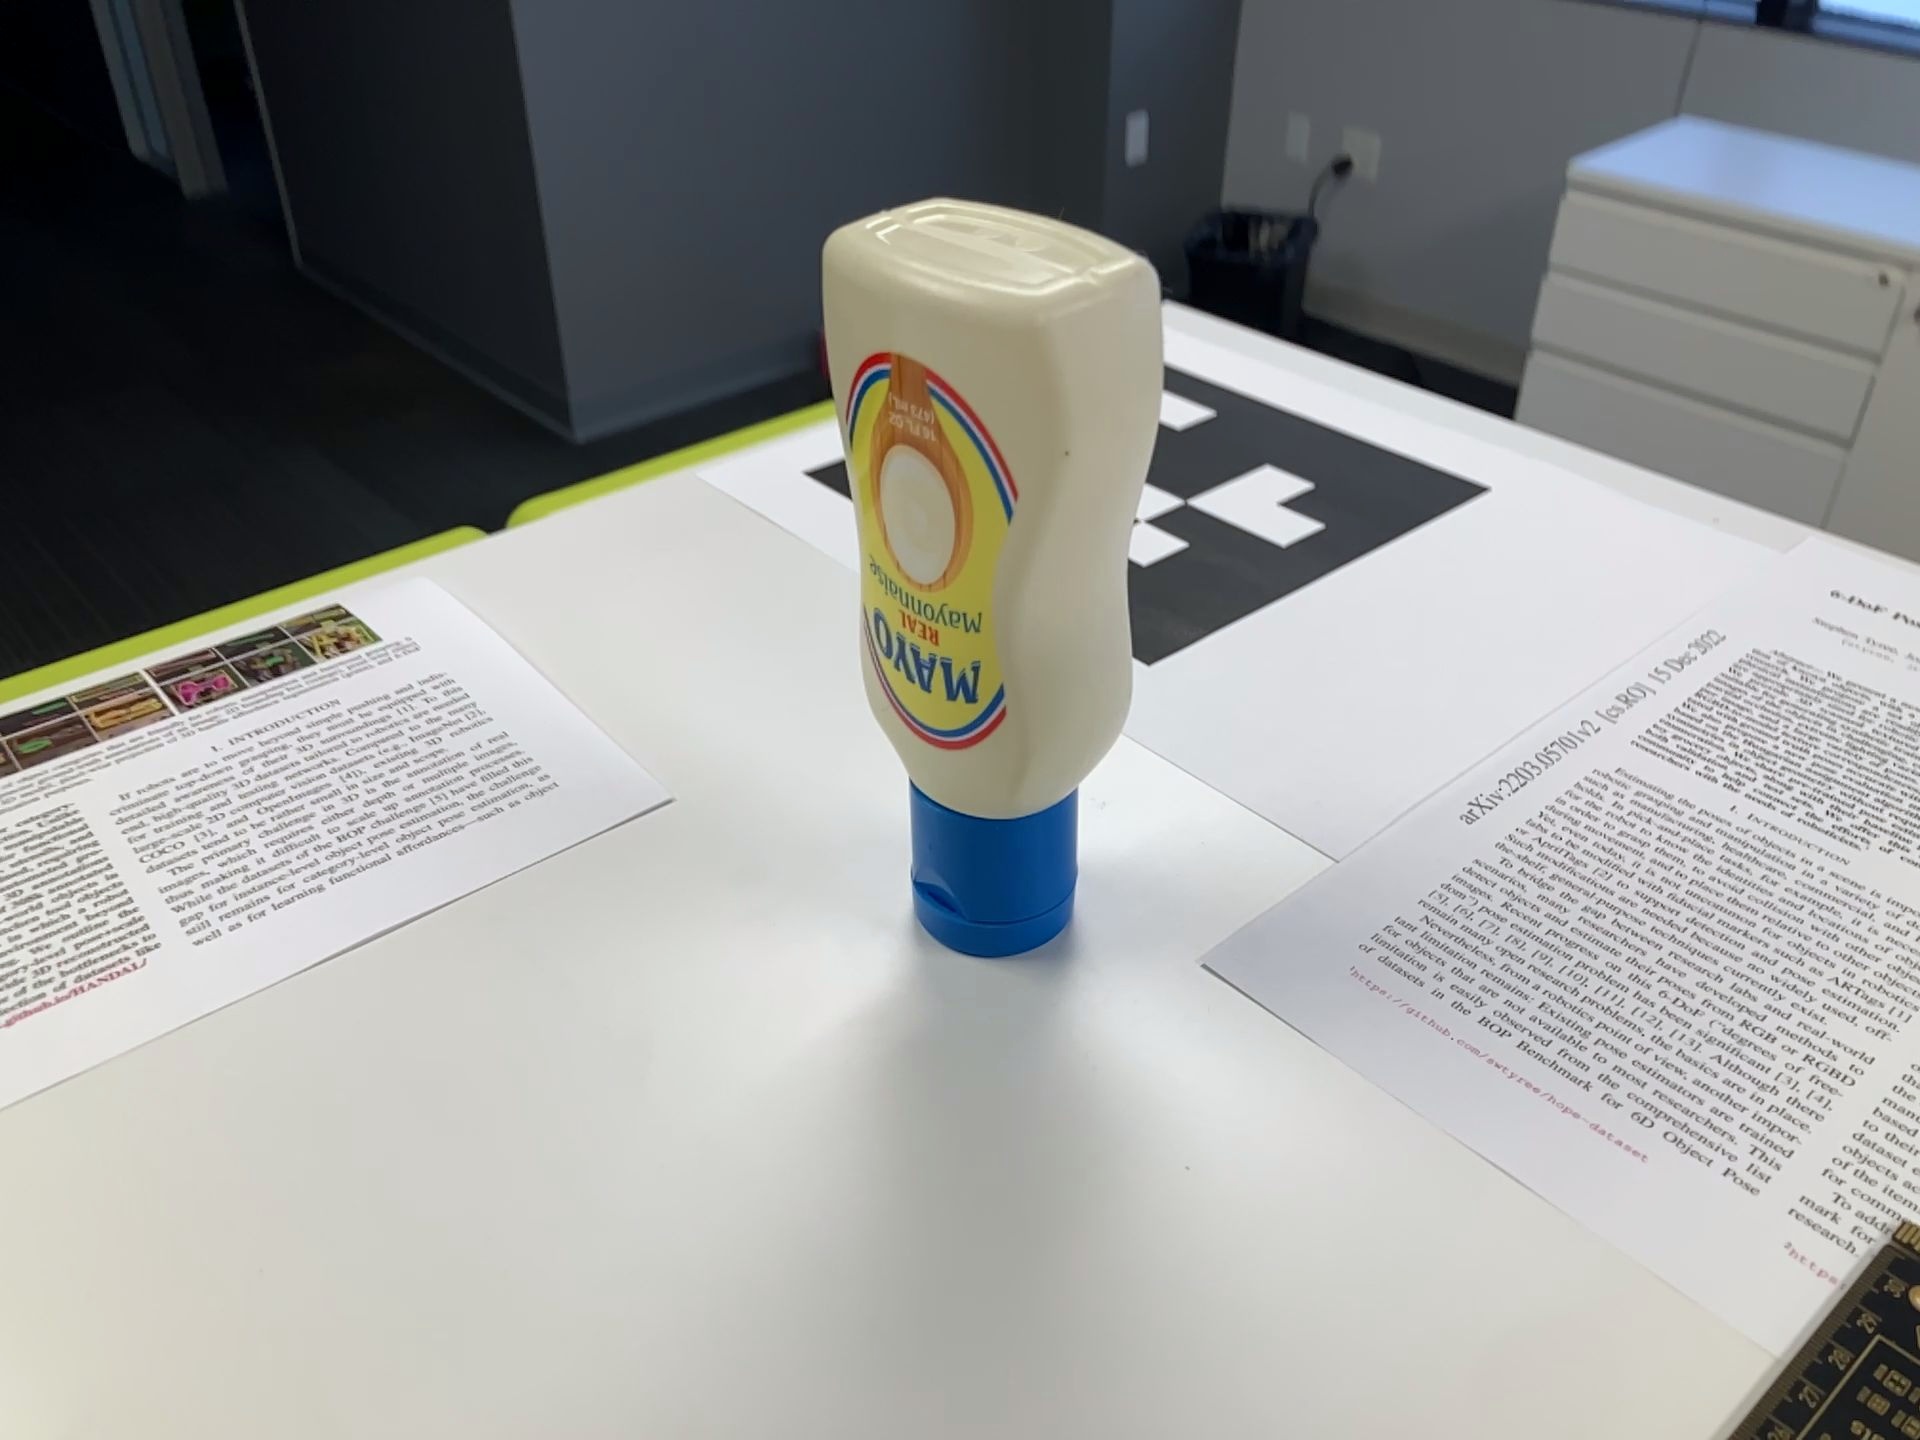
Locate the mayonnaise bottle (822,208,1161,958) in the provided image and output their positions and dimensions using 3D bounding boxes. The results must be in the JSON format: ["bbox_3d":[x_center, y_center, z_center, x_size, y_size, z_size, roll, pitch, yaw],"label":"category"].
[{"bbox_3d":[0.006,-0.019,0.312,0.041,0.148,0.065,-28,42,-33],"label":"mayonnaise bottle"}]
